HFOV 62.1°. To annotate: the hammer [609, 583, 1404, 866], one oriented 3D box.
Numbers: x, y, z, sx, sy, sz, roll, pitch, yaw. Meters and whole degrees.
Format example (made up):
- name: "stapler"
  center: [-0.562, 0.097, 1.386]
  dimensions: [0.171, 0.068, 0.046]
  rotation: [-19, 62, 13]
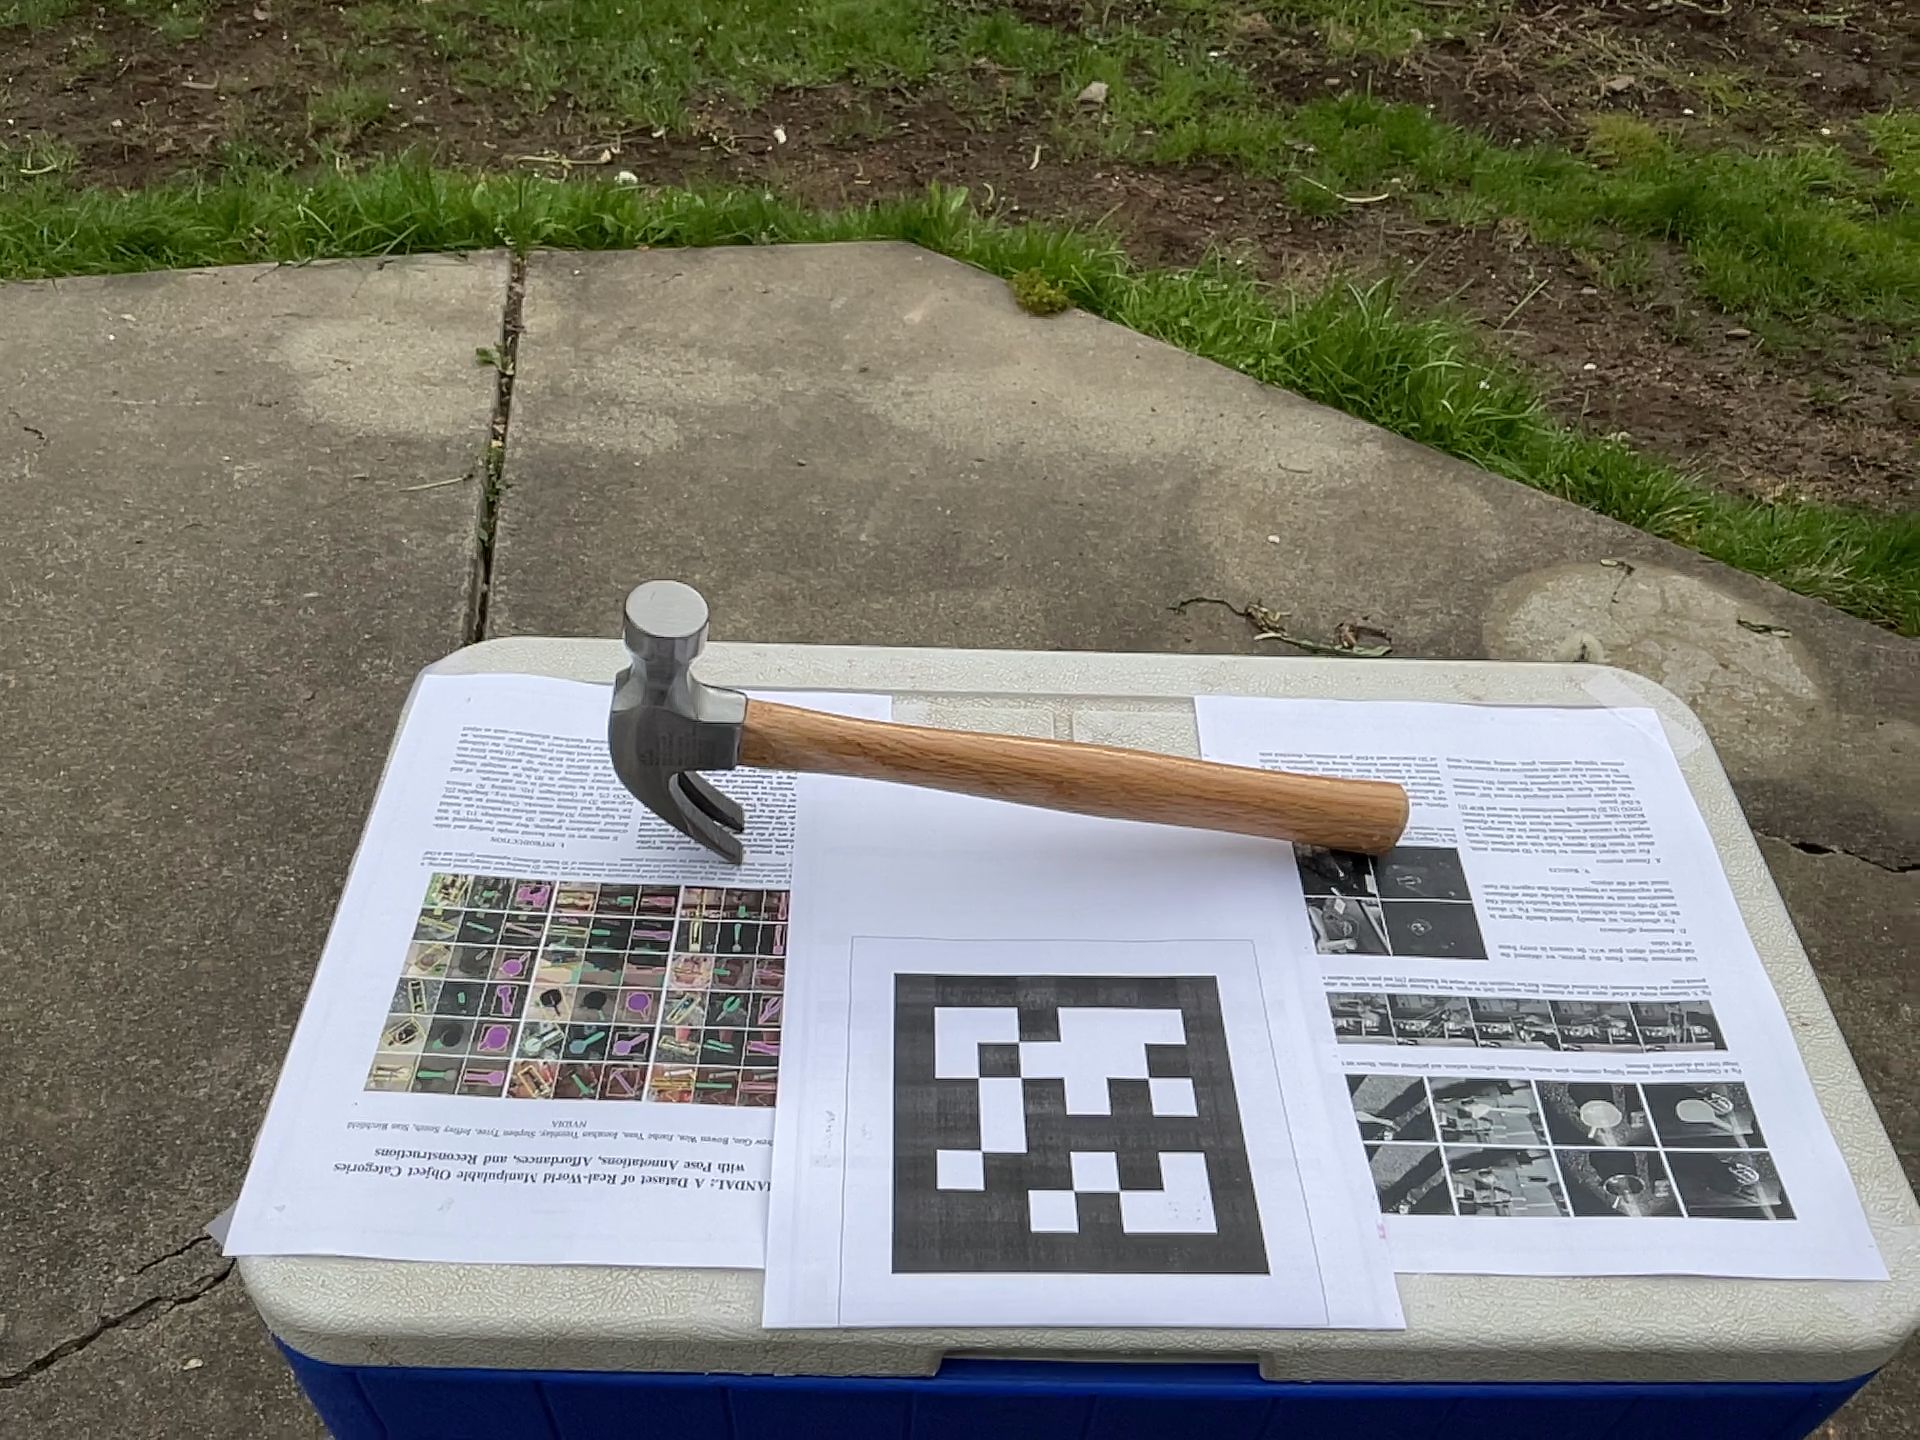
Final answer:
- name: "hammer"
  center: [0.023, 0.023, 0.660]
  dimensions: [0.331, 0.130, 0.031]
  rotation: [8, 47, -10]
